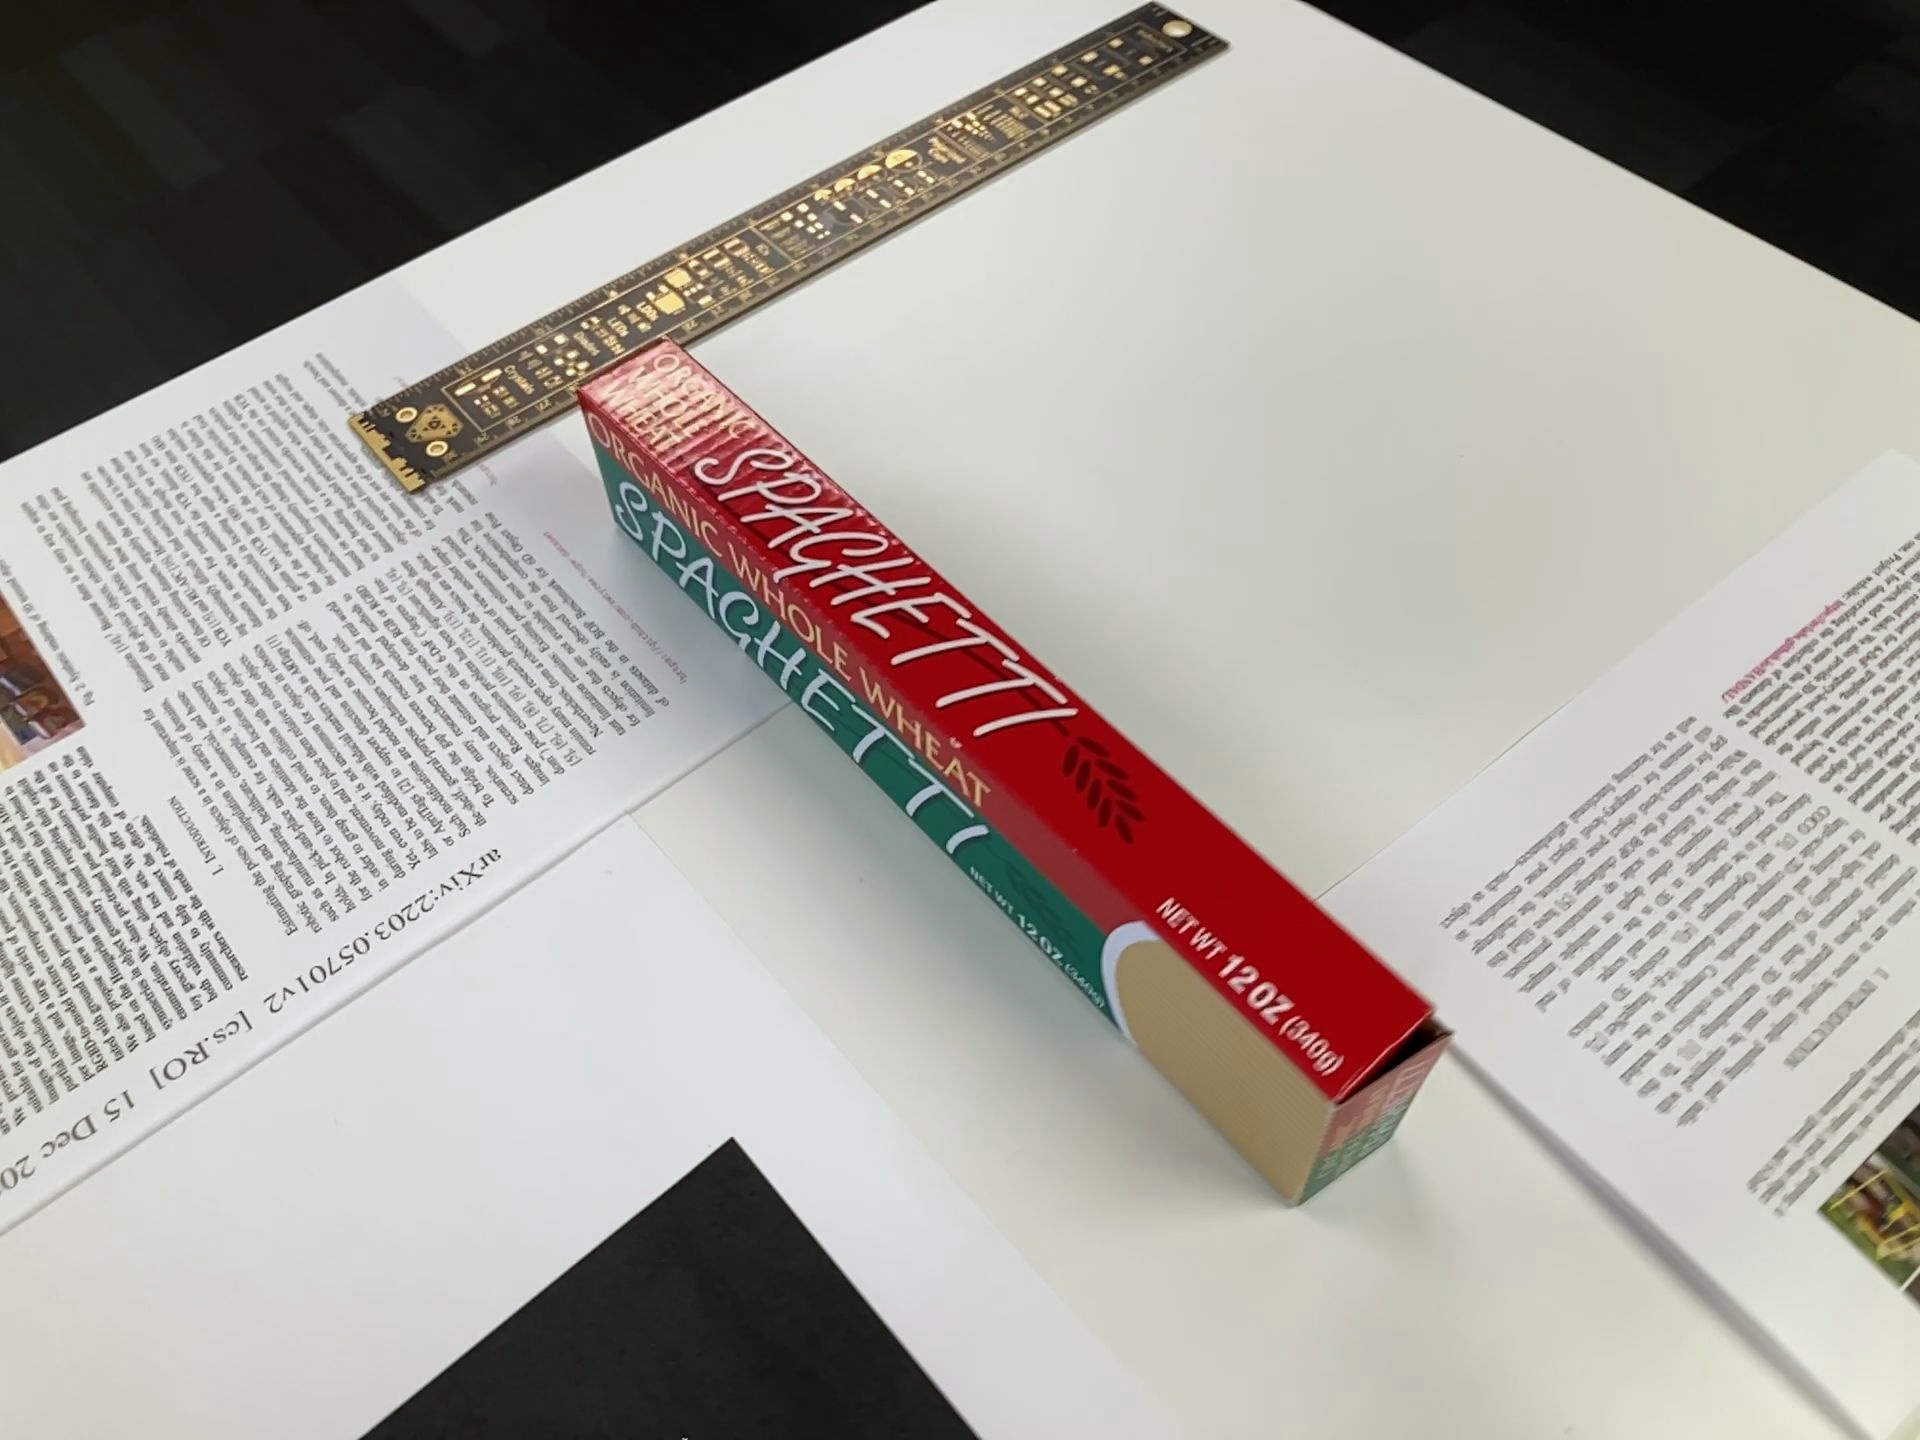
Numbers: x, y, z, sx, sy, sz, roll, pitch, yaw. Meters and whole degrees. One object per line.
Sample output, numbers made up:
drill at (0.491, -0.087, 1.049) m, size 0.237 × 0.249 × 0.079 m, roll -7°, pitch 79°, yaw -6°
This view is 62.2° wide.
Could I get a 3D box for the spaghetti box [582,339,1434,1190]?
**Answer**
spaghetti box at (-0.005, -0.002, 0.357) m, size 0.028 × 0.050 × 0.250 m, roll -34°, pitch 59°, yaw -23°
